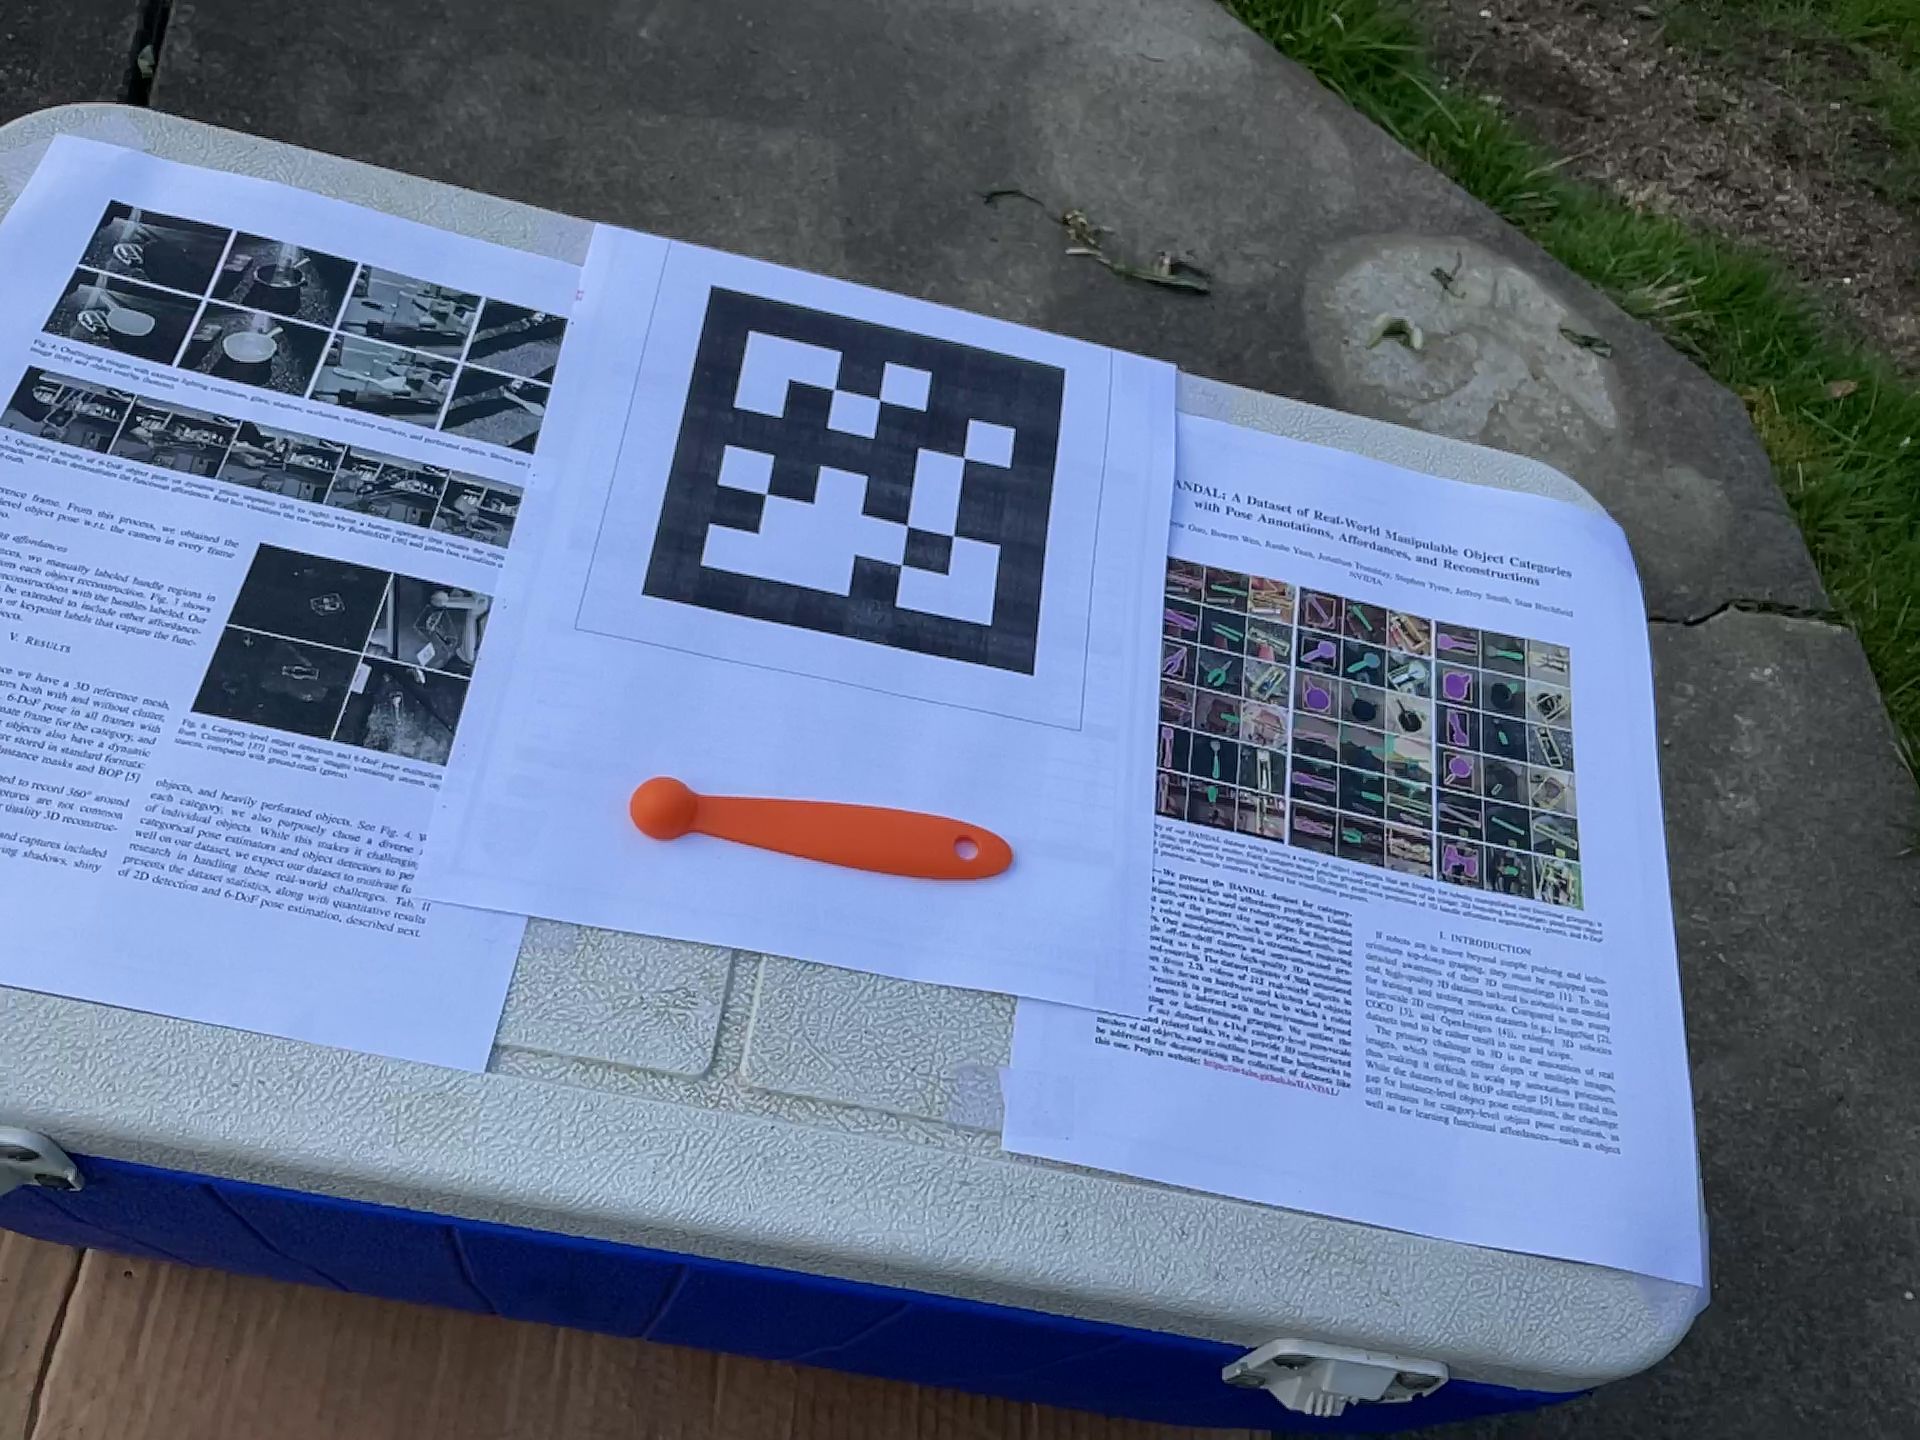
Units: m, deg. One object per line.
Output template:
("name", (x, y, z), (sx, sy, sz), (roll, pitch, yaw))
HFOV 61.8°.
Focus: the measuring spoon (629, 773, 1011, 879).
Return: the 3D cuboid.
("measuring spoon", (-0.041, 0.032, 0.482), (0.117, 0.011, 0.021), (9, 66, -11))
